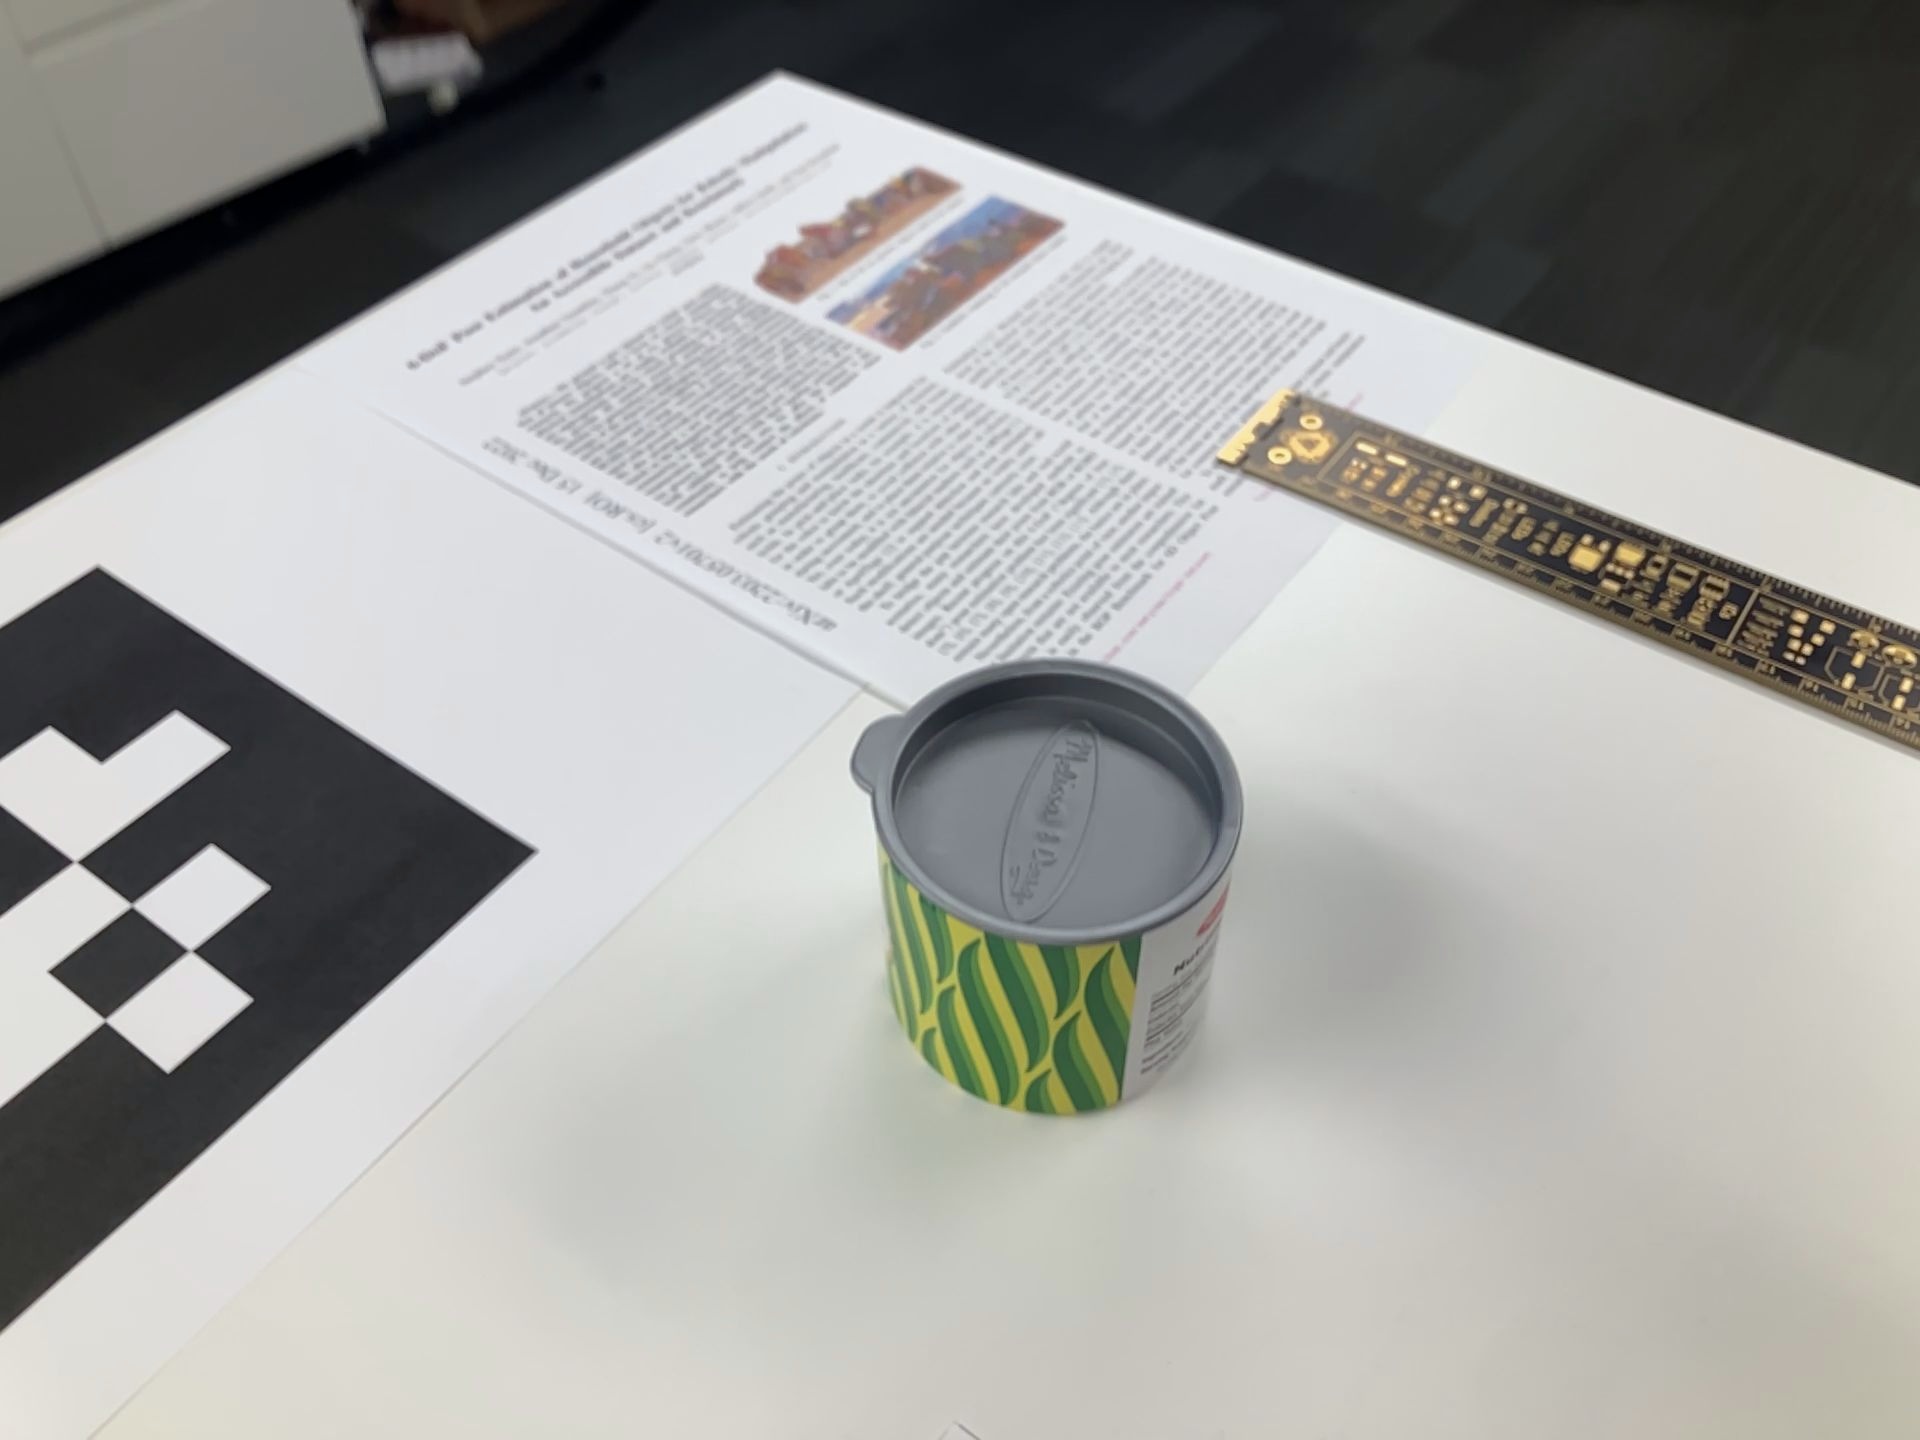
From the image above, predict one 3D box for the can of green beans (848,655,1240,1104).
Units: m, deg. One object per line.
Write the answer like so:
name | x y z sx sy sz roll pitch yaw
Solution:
can of green beans | 0.017 0.031 0.308 0.071 0.058 0.071 0 47 0
